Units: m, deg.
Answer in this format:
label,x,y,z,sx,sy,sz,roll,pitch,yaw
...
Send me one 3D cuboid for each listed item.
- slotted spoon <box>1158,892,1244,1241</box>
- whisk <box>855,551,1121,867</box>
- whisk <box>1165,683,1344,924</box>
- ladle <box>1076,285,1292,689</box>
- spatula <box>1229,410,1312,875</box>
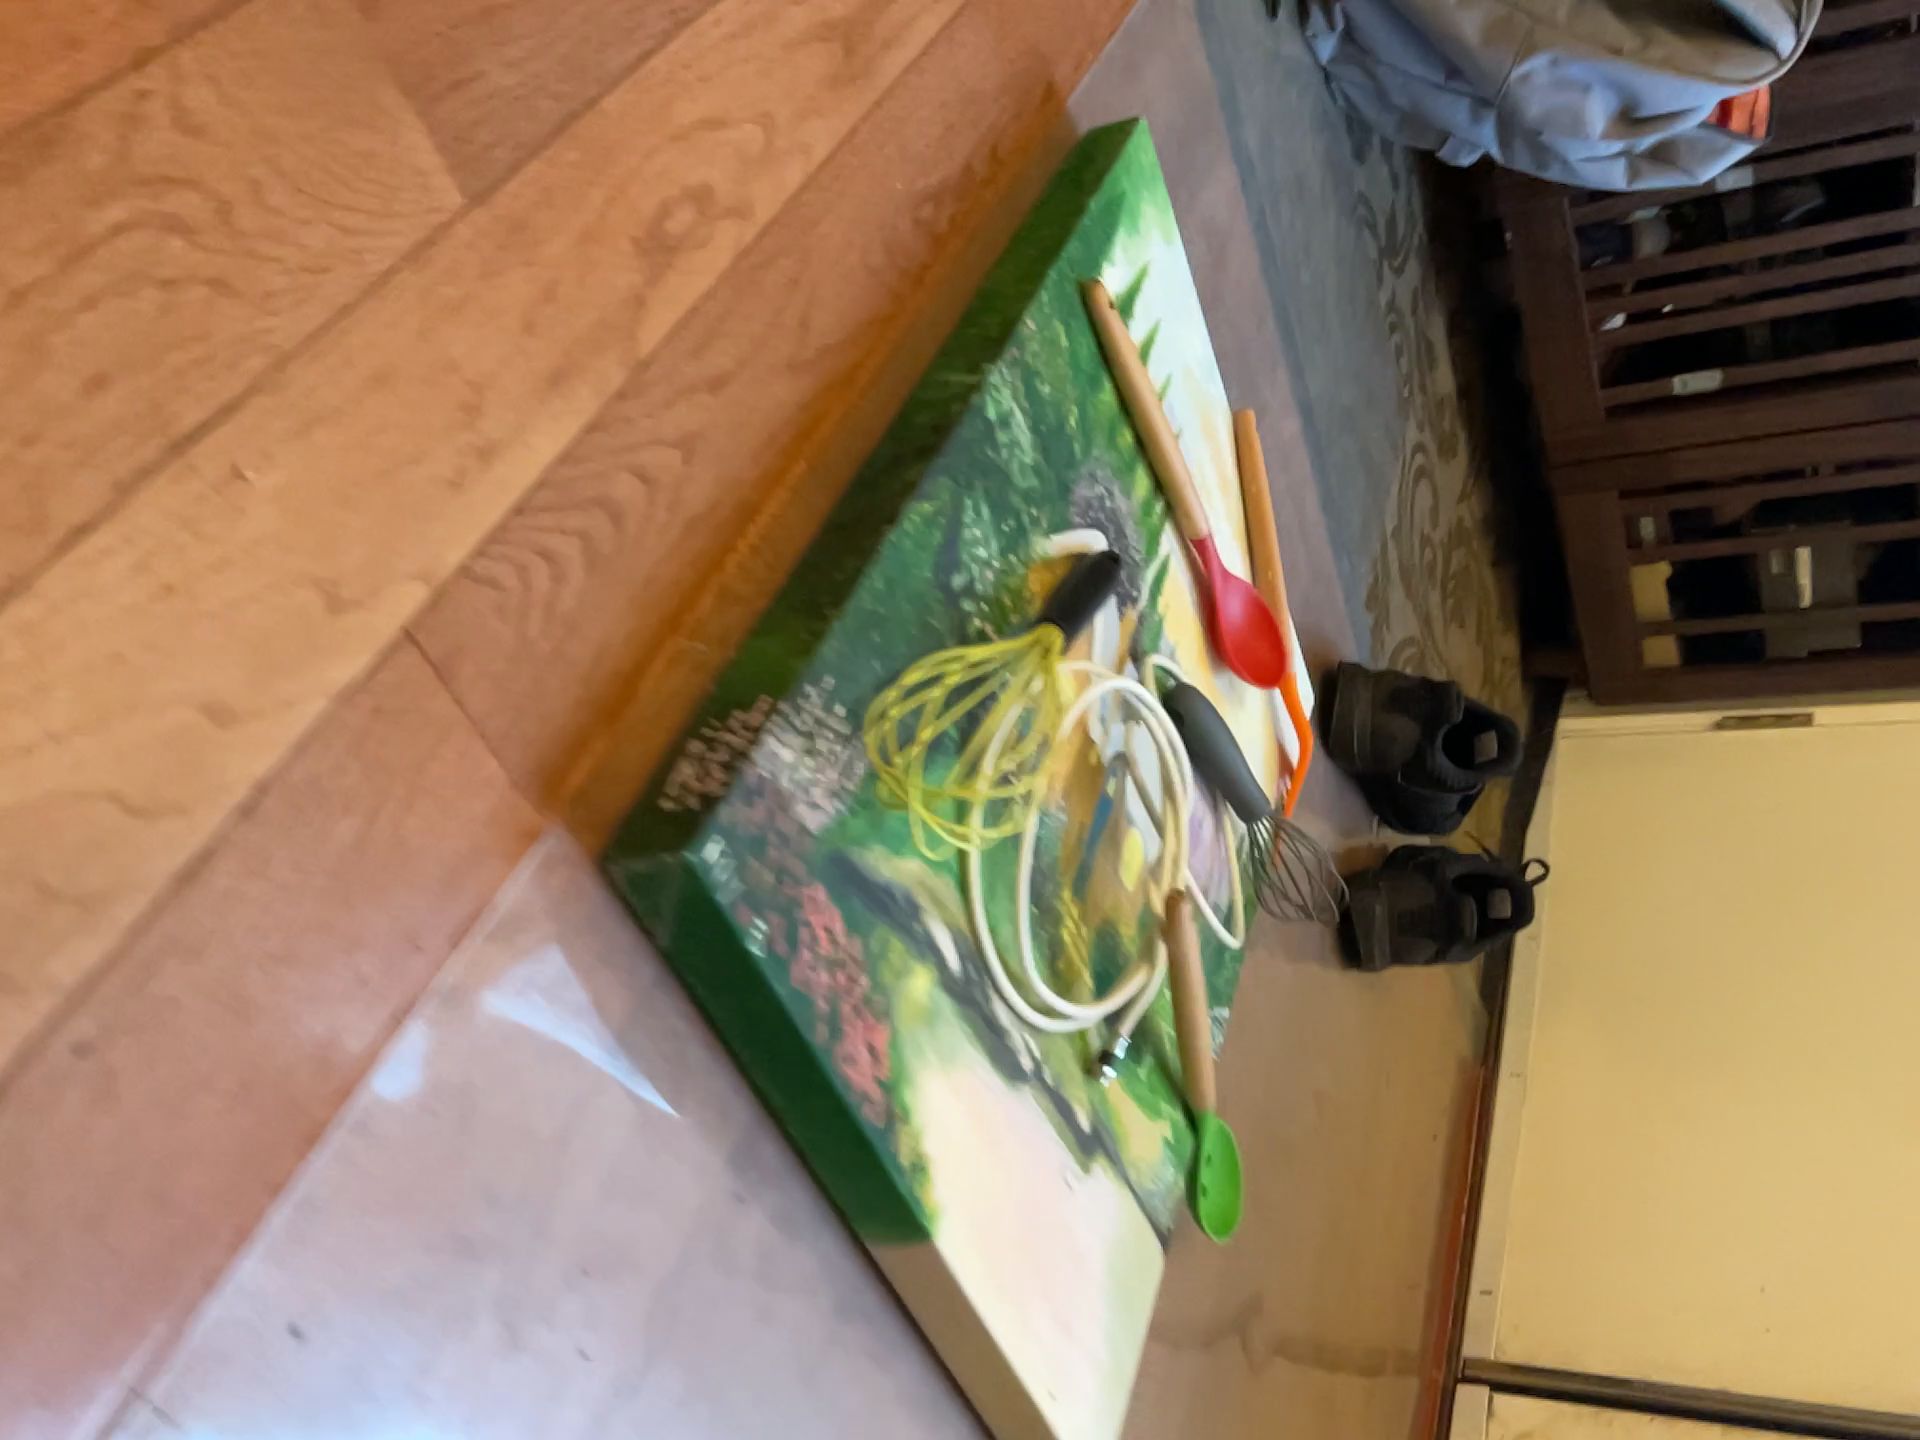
label,x,y,z,sx,sy,sz,roll,pitch,yaw
slotted spoon,0.135,0.201,0.904,0.313,0.031,0.070,75,29,-43
whisk,0.029,-0.024,0.730,0.312,0.067,0.080,-50,135,-58
whisk,0.187,0.057,1.008,0.238,0.055,0.055,52,33,-37
ladle,0.136,-0.131,0.956,0.315,0.031,0.069,56,40,-39
spatula,0.212,-0.052,1.104,0.081,0.041,0.322,-43,123,-68
